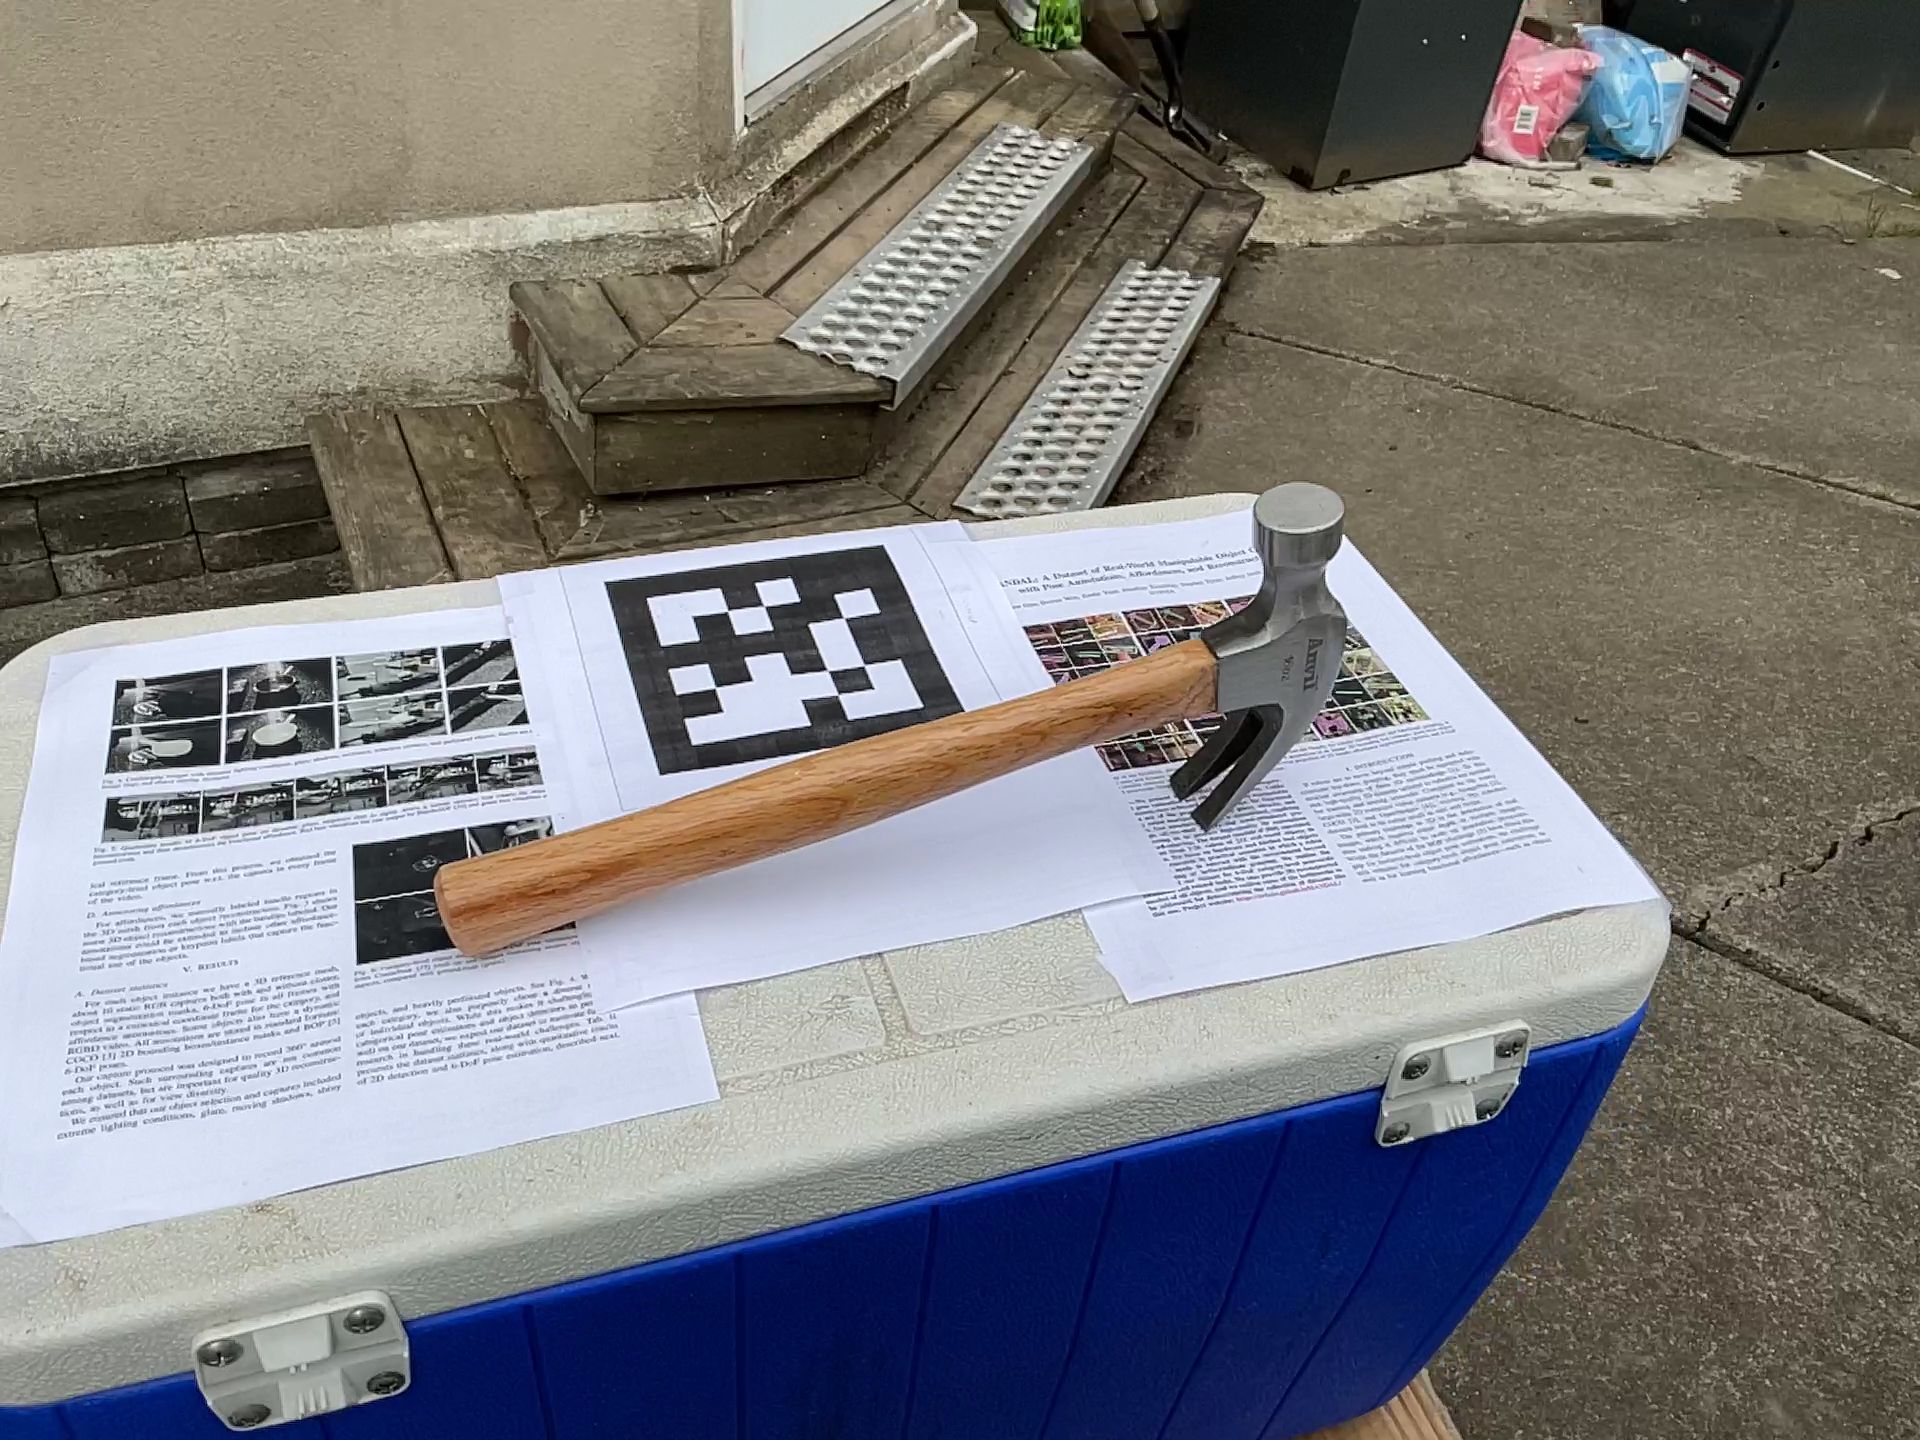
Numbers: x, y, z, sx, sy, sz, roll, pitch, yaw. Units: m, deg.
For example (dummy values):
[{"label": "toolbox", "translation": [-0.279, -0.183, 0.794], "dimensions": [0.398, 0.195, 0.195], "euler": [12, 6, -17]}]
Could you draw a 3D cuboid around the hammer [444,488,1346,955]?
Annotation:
[{"label": "hammer", "translation": [-0.015, 0.019, 0.573], "dimensions": [0.331, 0.129, 0.031], "euler": [-18, 42, -10]}]
